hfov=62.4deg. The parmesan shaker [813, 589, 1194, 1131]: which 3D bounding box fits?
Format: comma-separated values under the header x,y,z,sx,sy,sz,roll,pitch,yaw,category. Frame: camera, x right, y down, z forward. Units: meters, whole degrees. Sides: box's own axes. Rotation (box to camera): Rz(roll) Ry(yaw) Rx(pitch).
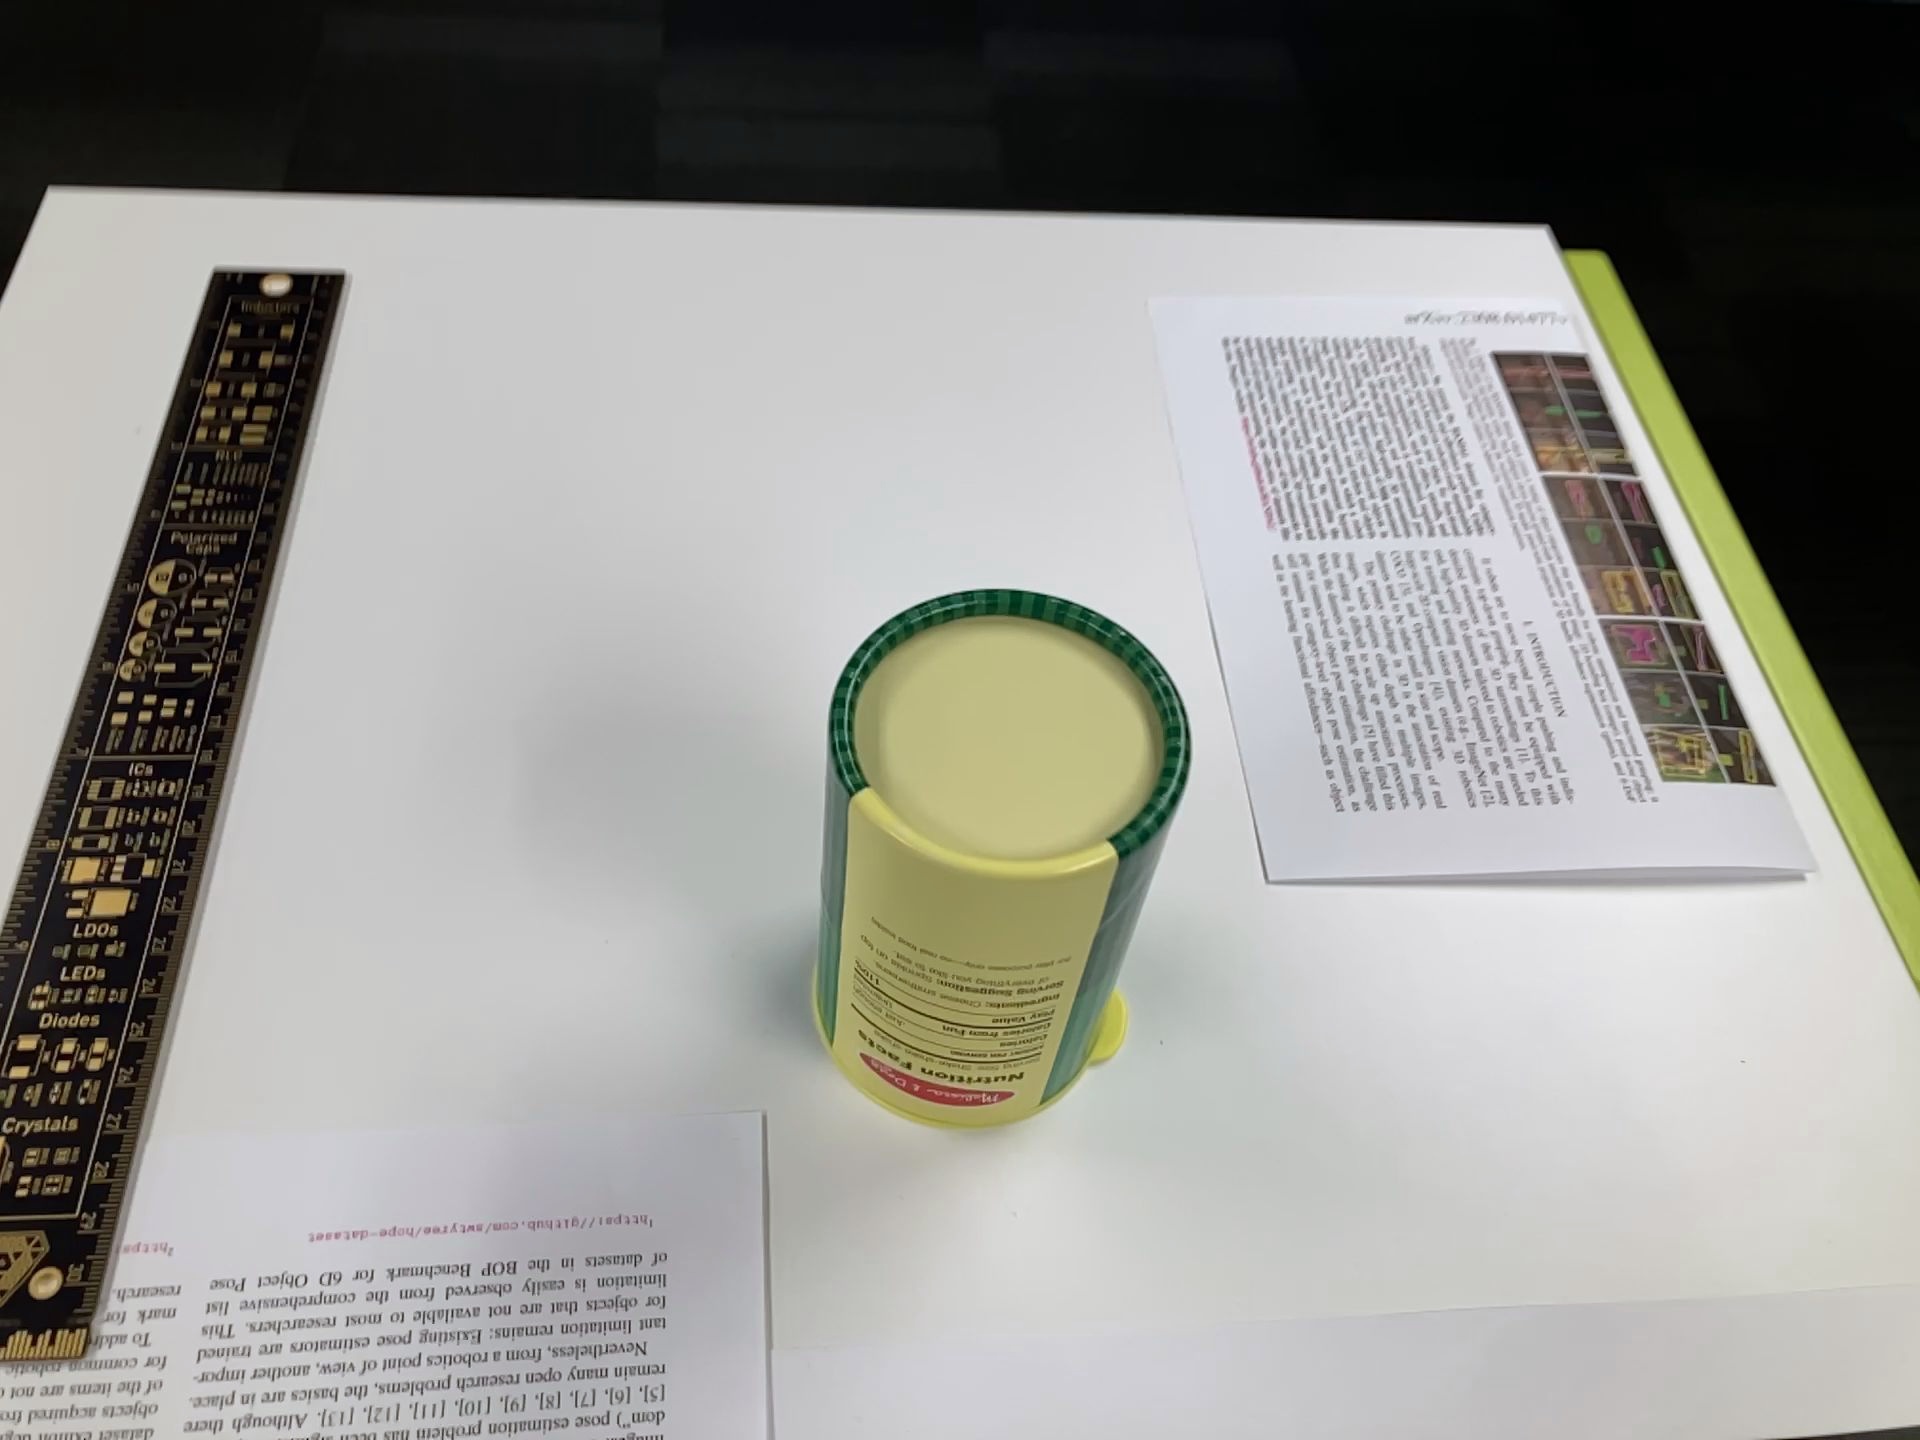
x,y,z,sx,sy,sz,roll,pitch,yaw,category
0.007,0.031,0.317,0.071,0.103,0.071,3,53,-4,parmesan shaker
